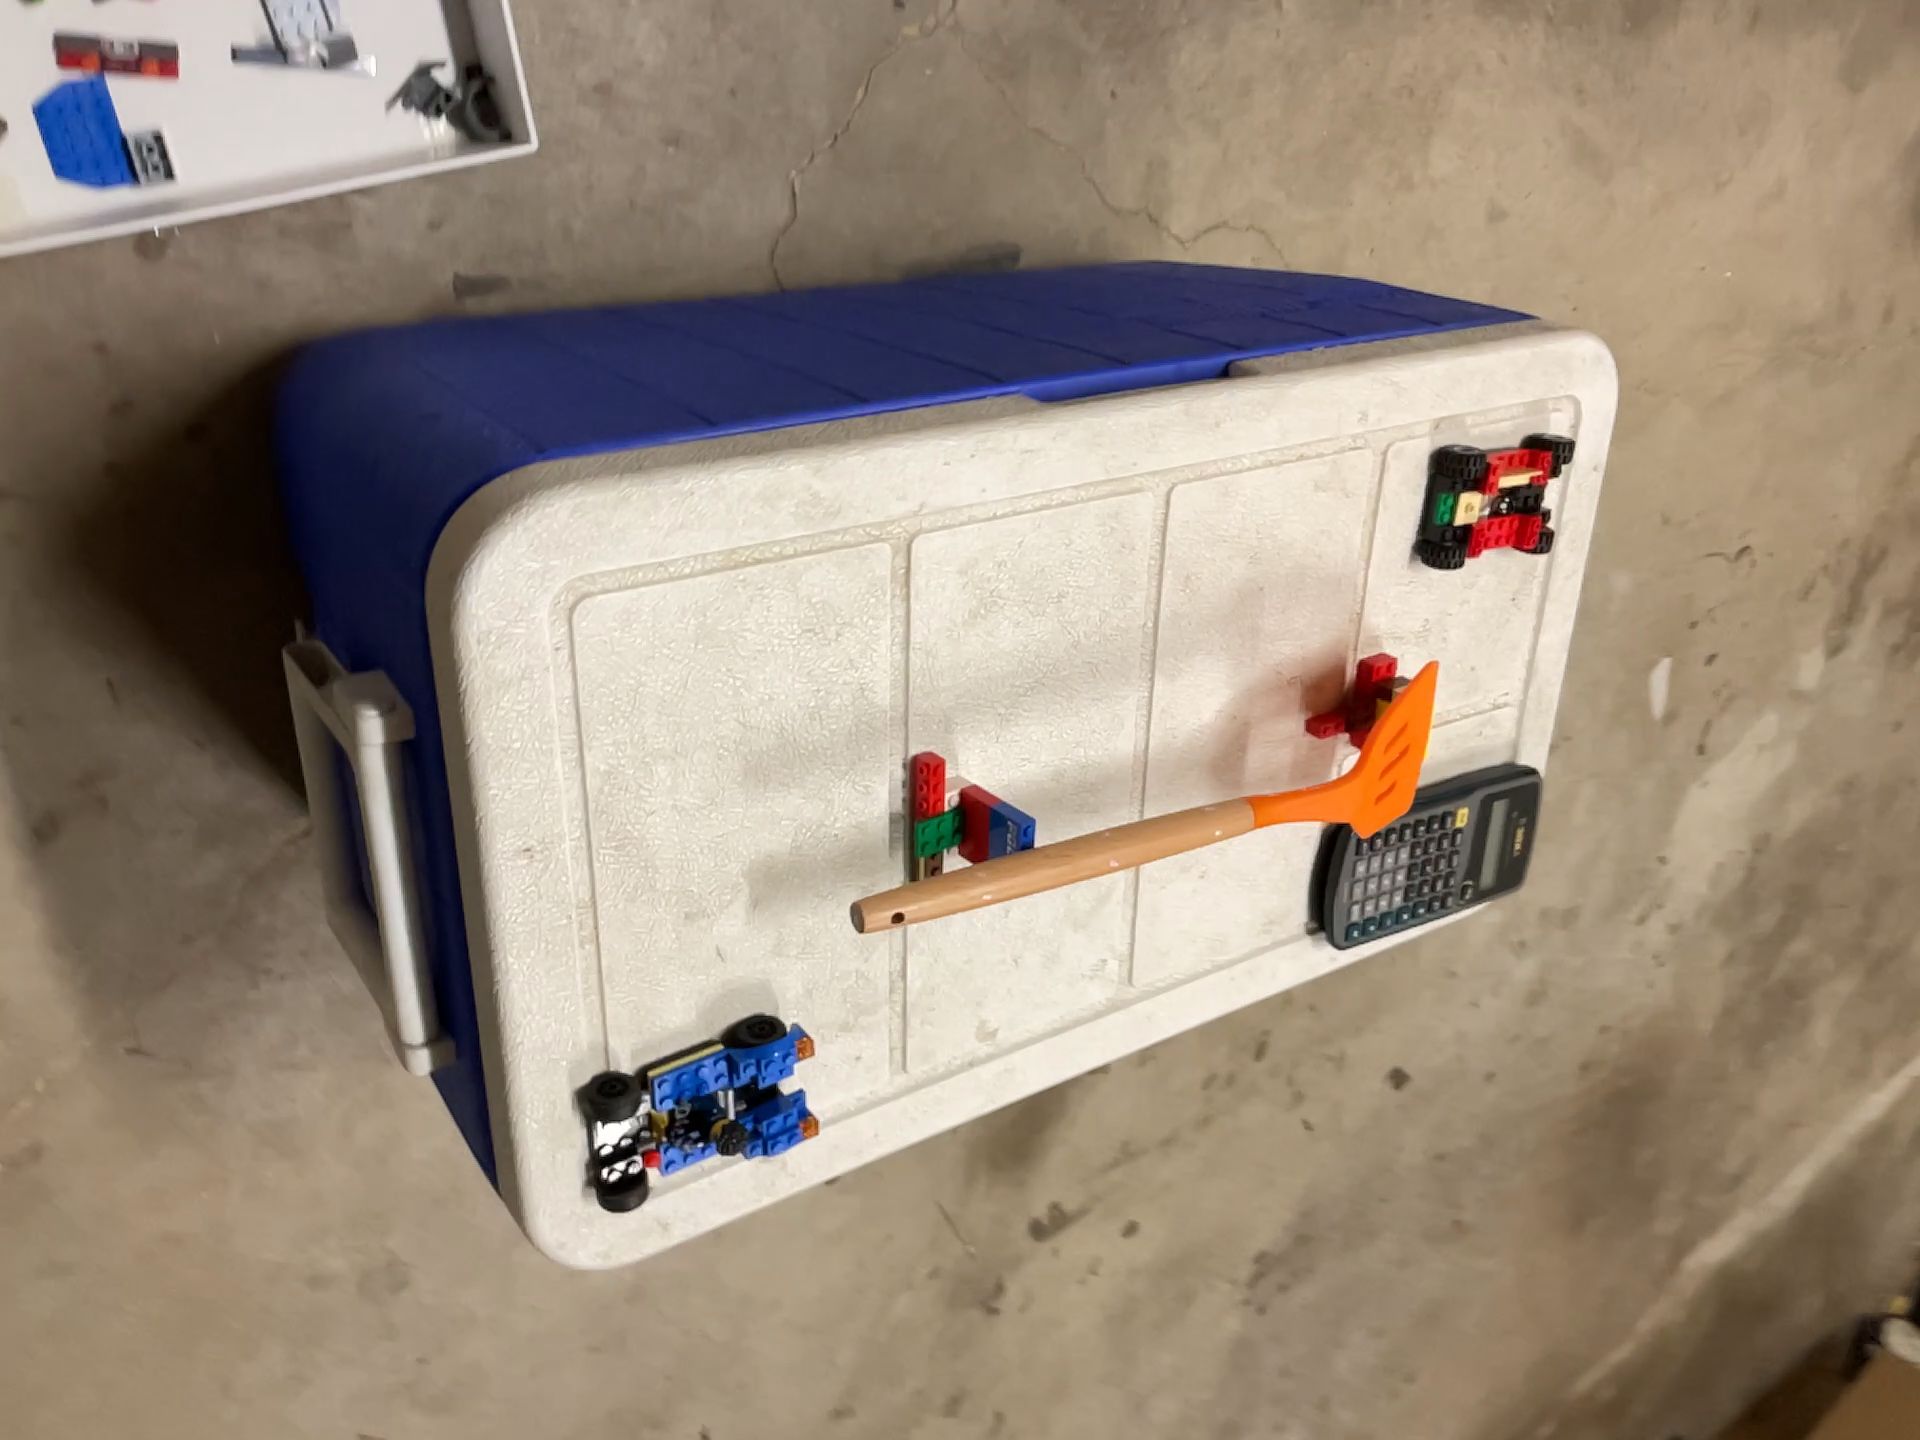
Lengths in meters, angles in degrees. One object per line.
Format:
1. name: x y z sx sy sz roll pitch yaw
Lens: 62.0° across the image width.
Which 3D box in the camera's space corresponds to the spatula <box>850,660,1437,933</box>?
1. spatula: 0.096 0.042 0.681 0.322 0.041 0.081 -12 119 -28
